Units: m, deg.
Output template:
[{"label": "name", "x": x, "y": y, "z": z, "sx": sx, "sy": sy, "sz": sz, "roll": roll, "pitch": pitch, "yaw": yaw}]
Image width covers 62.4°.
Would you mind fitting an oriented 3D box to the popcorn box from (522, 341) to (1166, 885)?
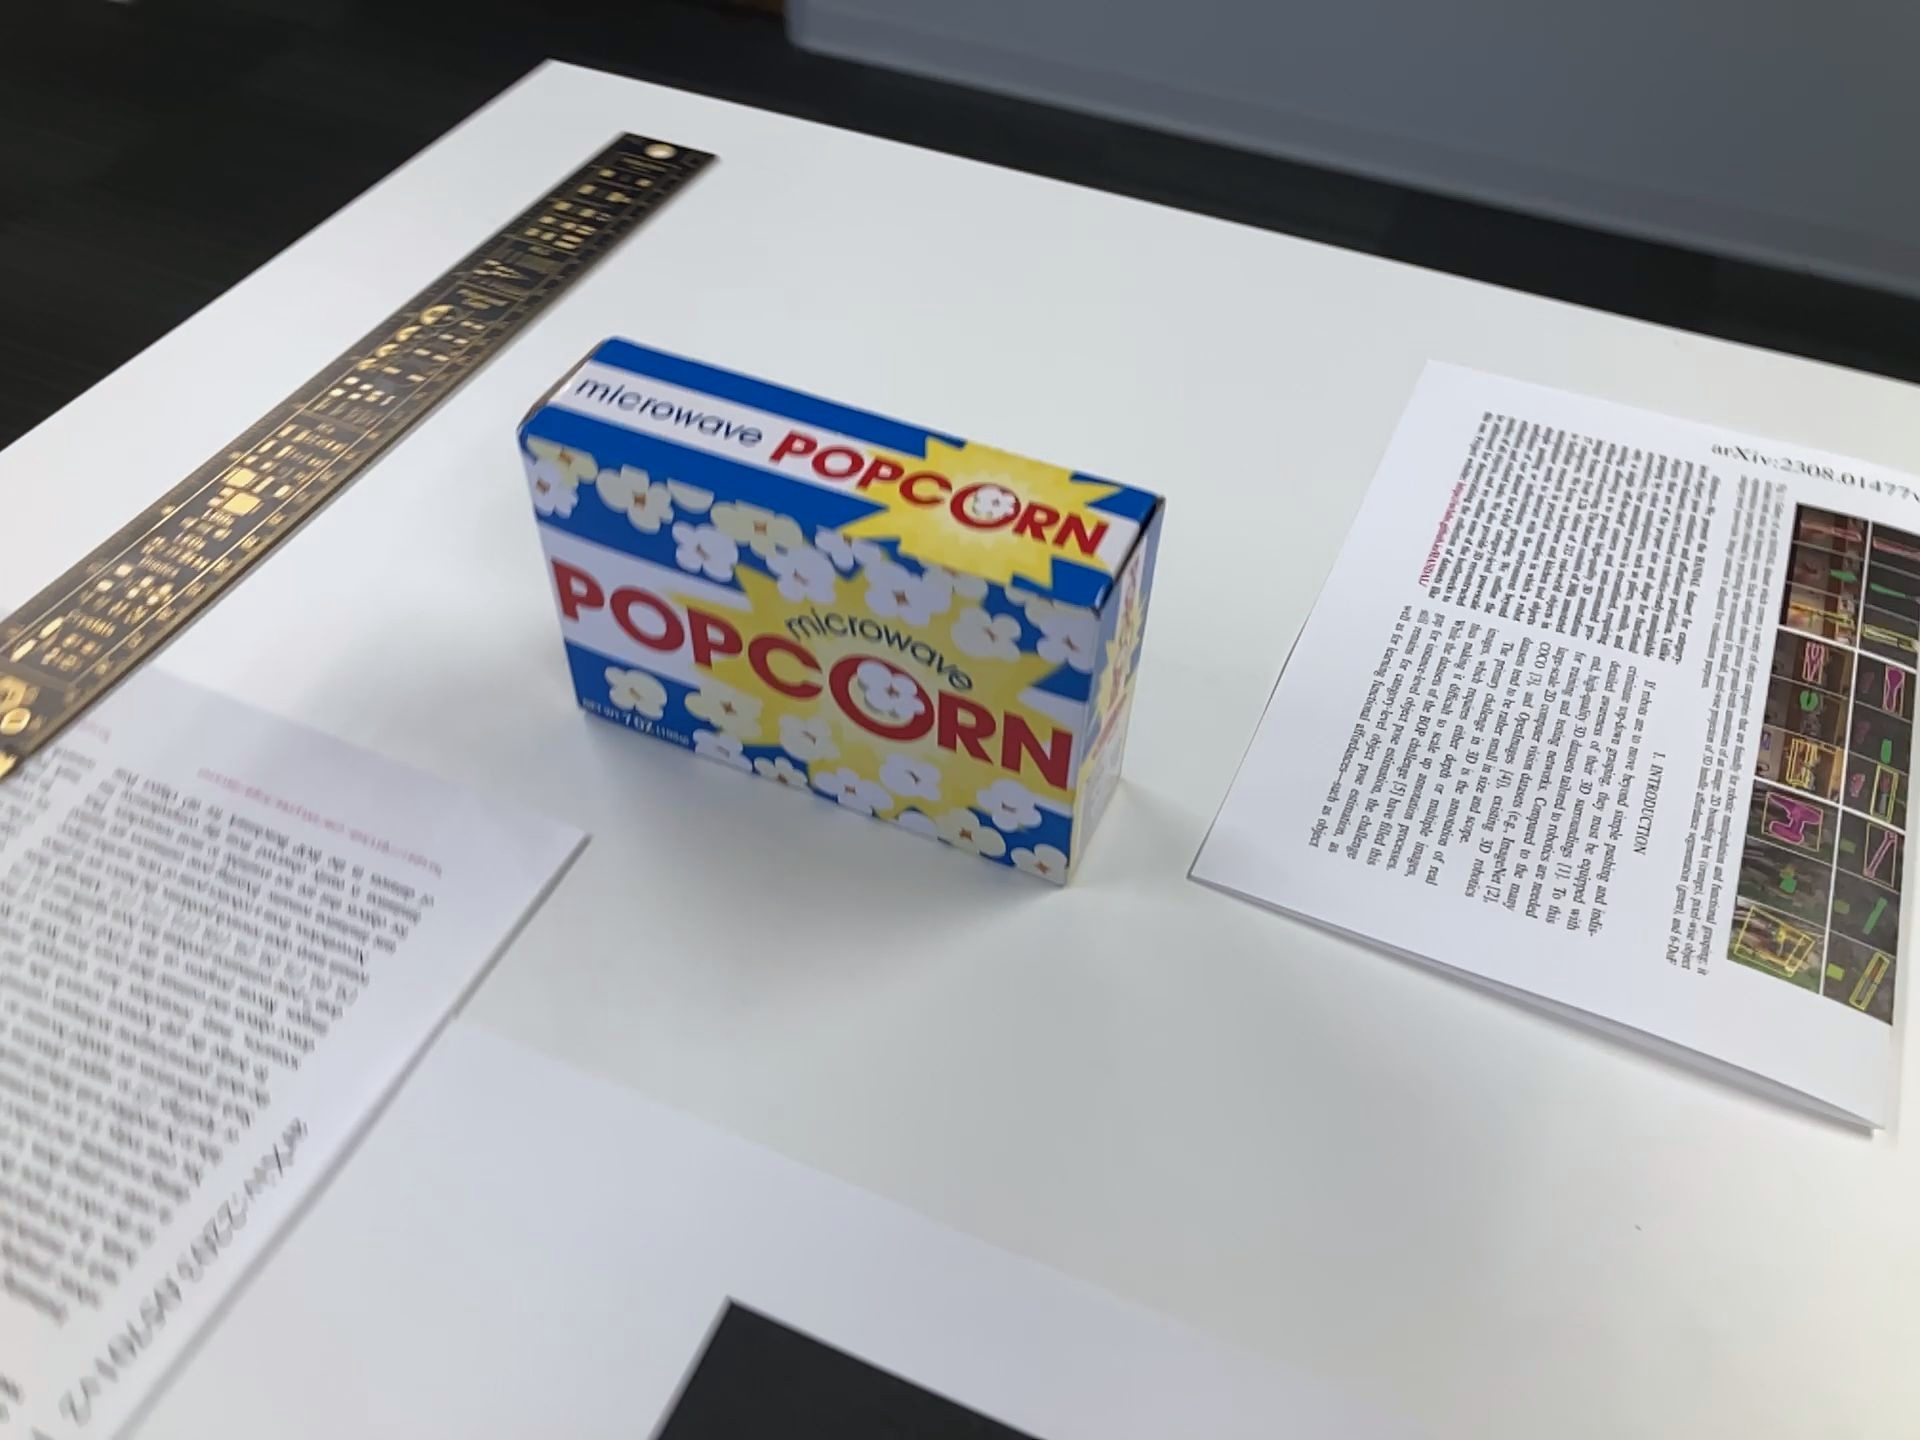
[{"label": "popcorn box", "x": -0.026, "y": -0.023, "z": 0.342, "sx": 0.126, "sy": 0.085, "sz": 0.038, "roll": 19, "pitch": 49, "yaw": 15}]
